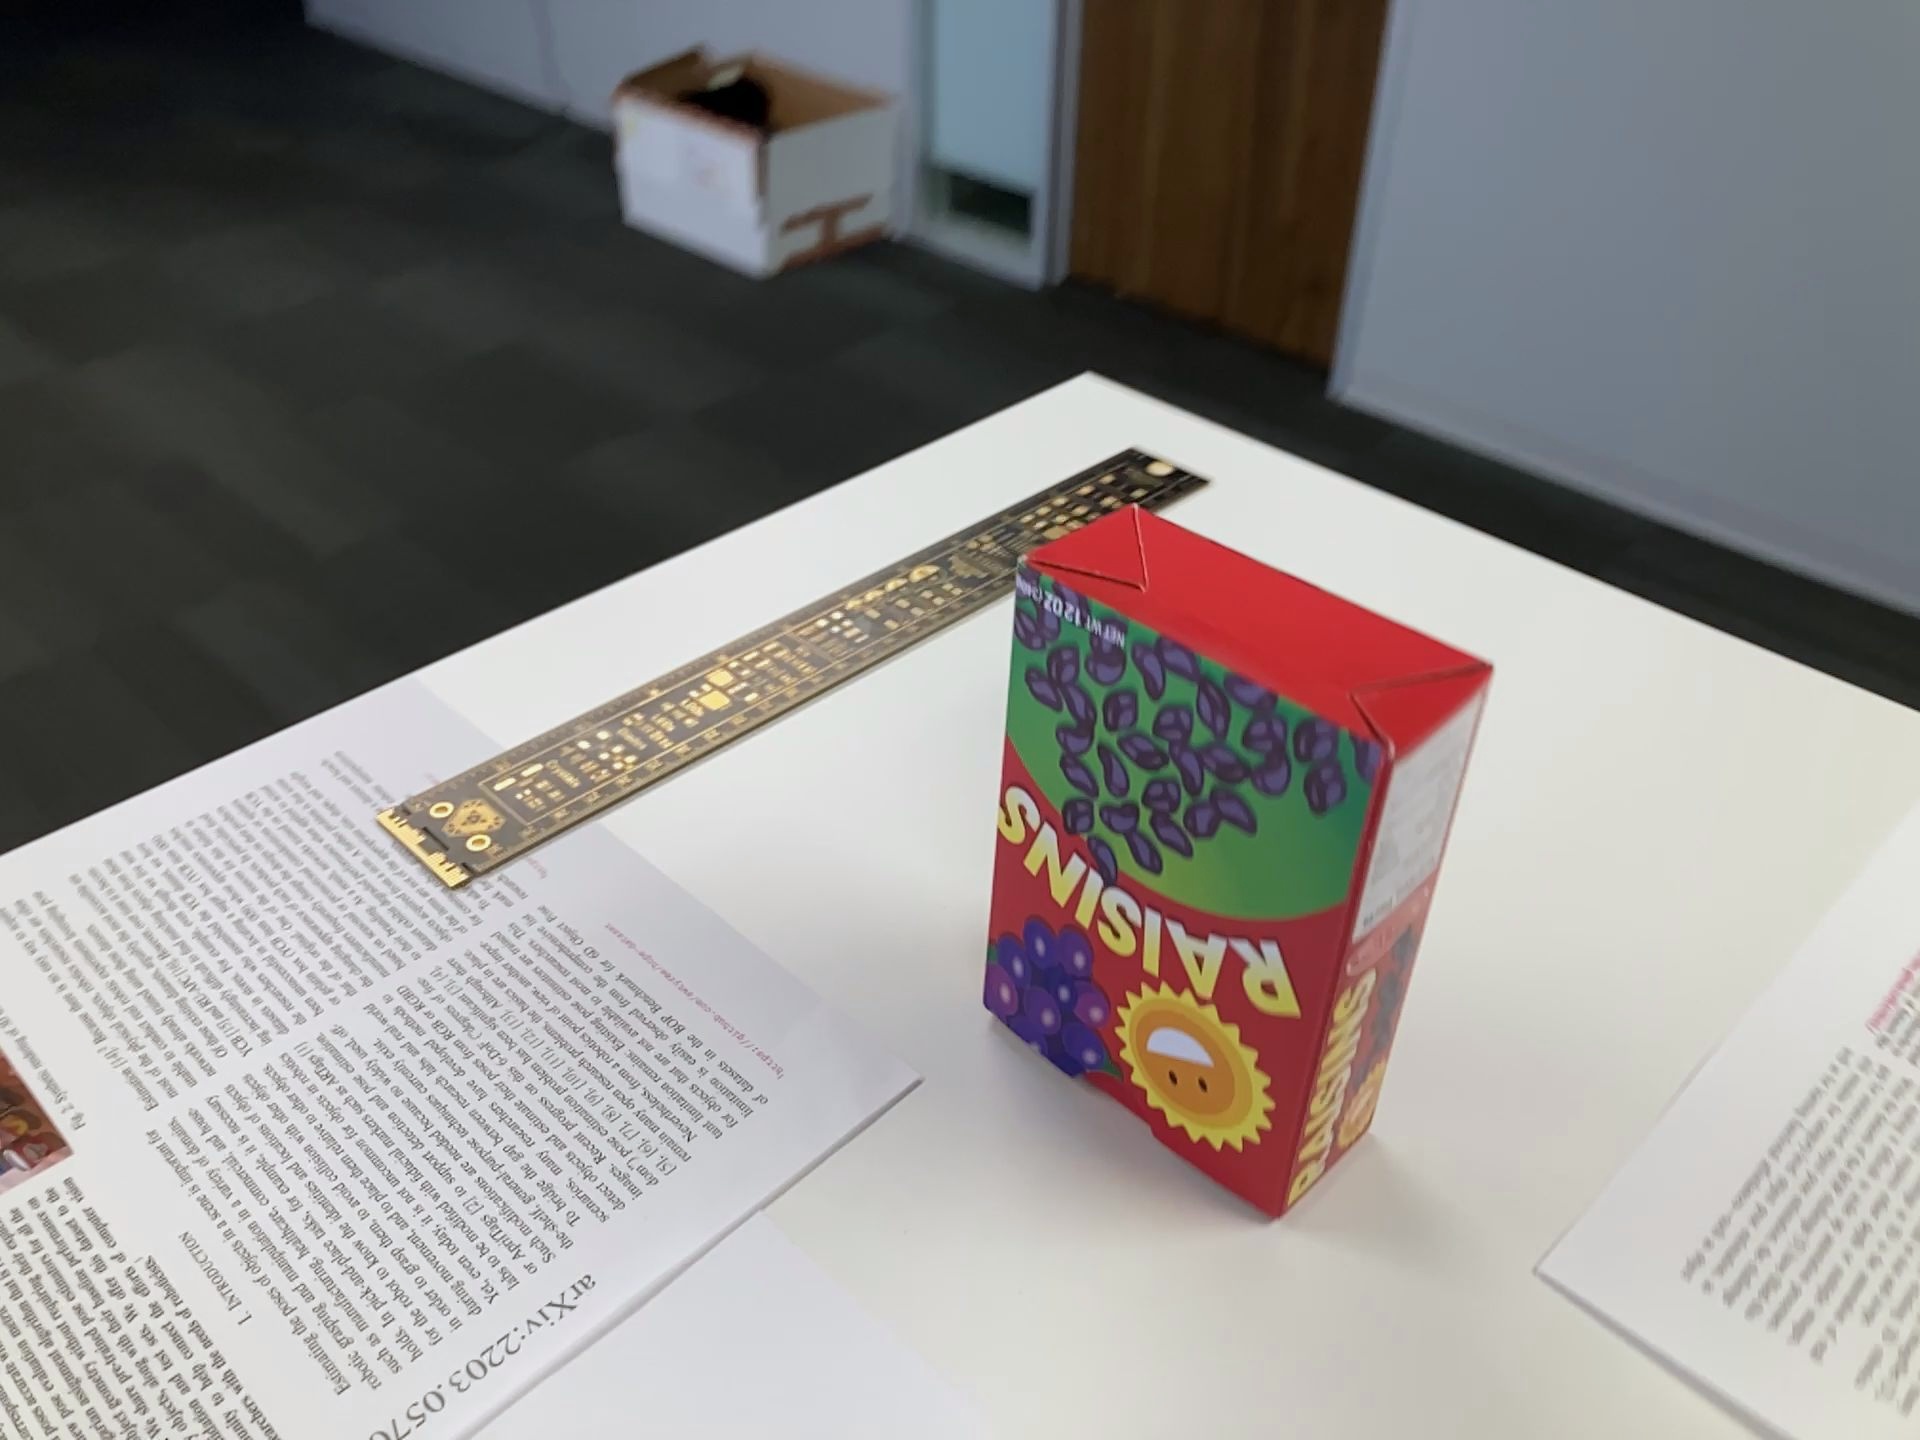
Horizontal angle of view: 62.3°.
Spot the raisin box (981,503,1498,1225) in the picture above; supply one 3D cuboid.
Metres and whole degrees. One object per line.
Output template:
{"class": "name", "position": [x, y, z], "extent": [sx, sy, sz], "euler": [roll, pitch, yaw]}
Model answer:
{"class": "raisin box", "position": [0.050, 0.030, 0.325], "extent": [0.086, 0.123, 0.040], "euler": [30, 43, 33]}
